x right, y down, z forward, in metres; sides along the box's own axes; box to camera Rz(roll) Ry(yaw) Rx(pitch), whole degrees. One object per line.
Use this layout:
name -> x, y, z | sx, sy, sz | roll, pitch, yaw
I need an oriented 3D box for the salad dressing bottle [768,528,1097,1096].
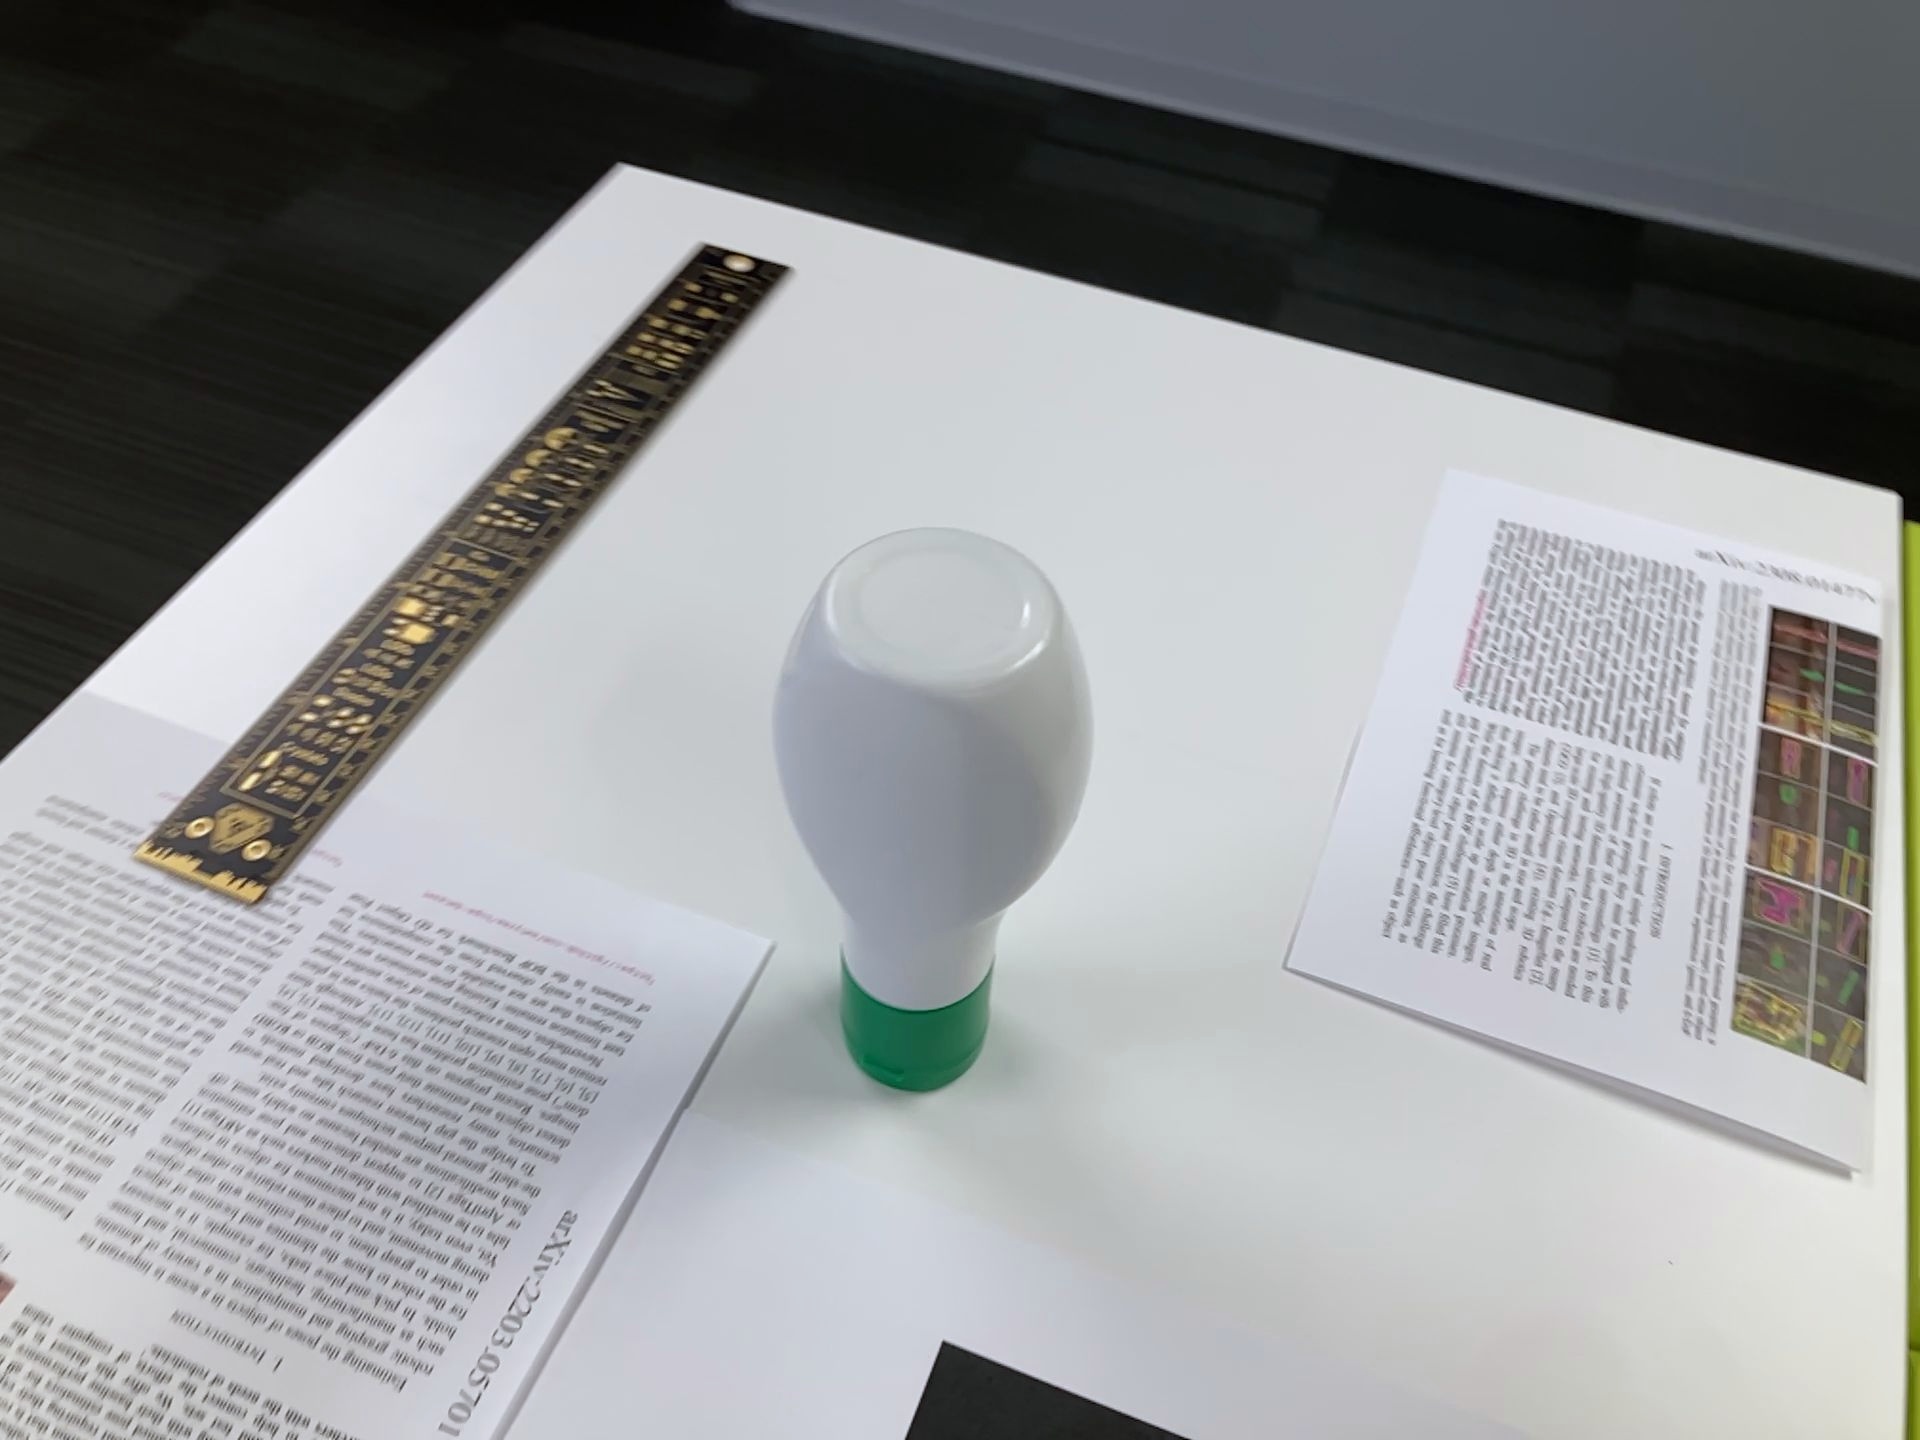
salad dressing bottle -> -0.008, 0.028, 0.337 | 0.064, 0.147, 0.044 | 20, 50, 13
